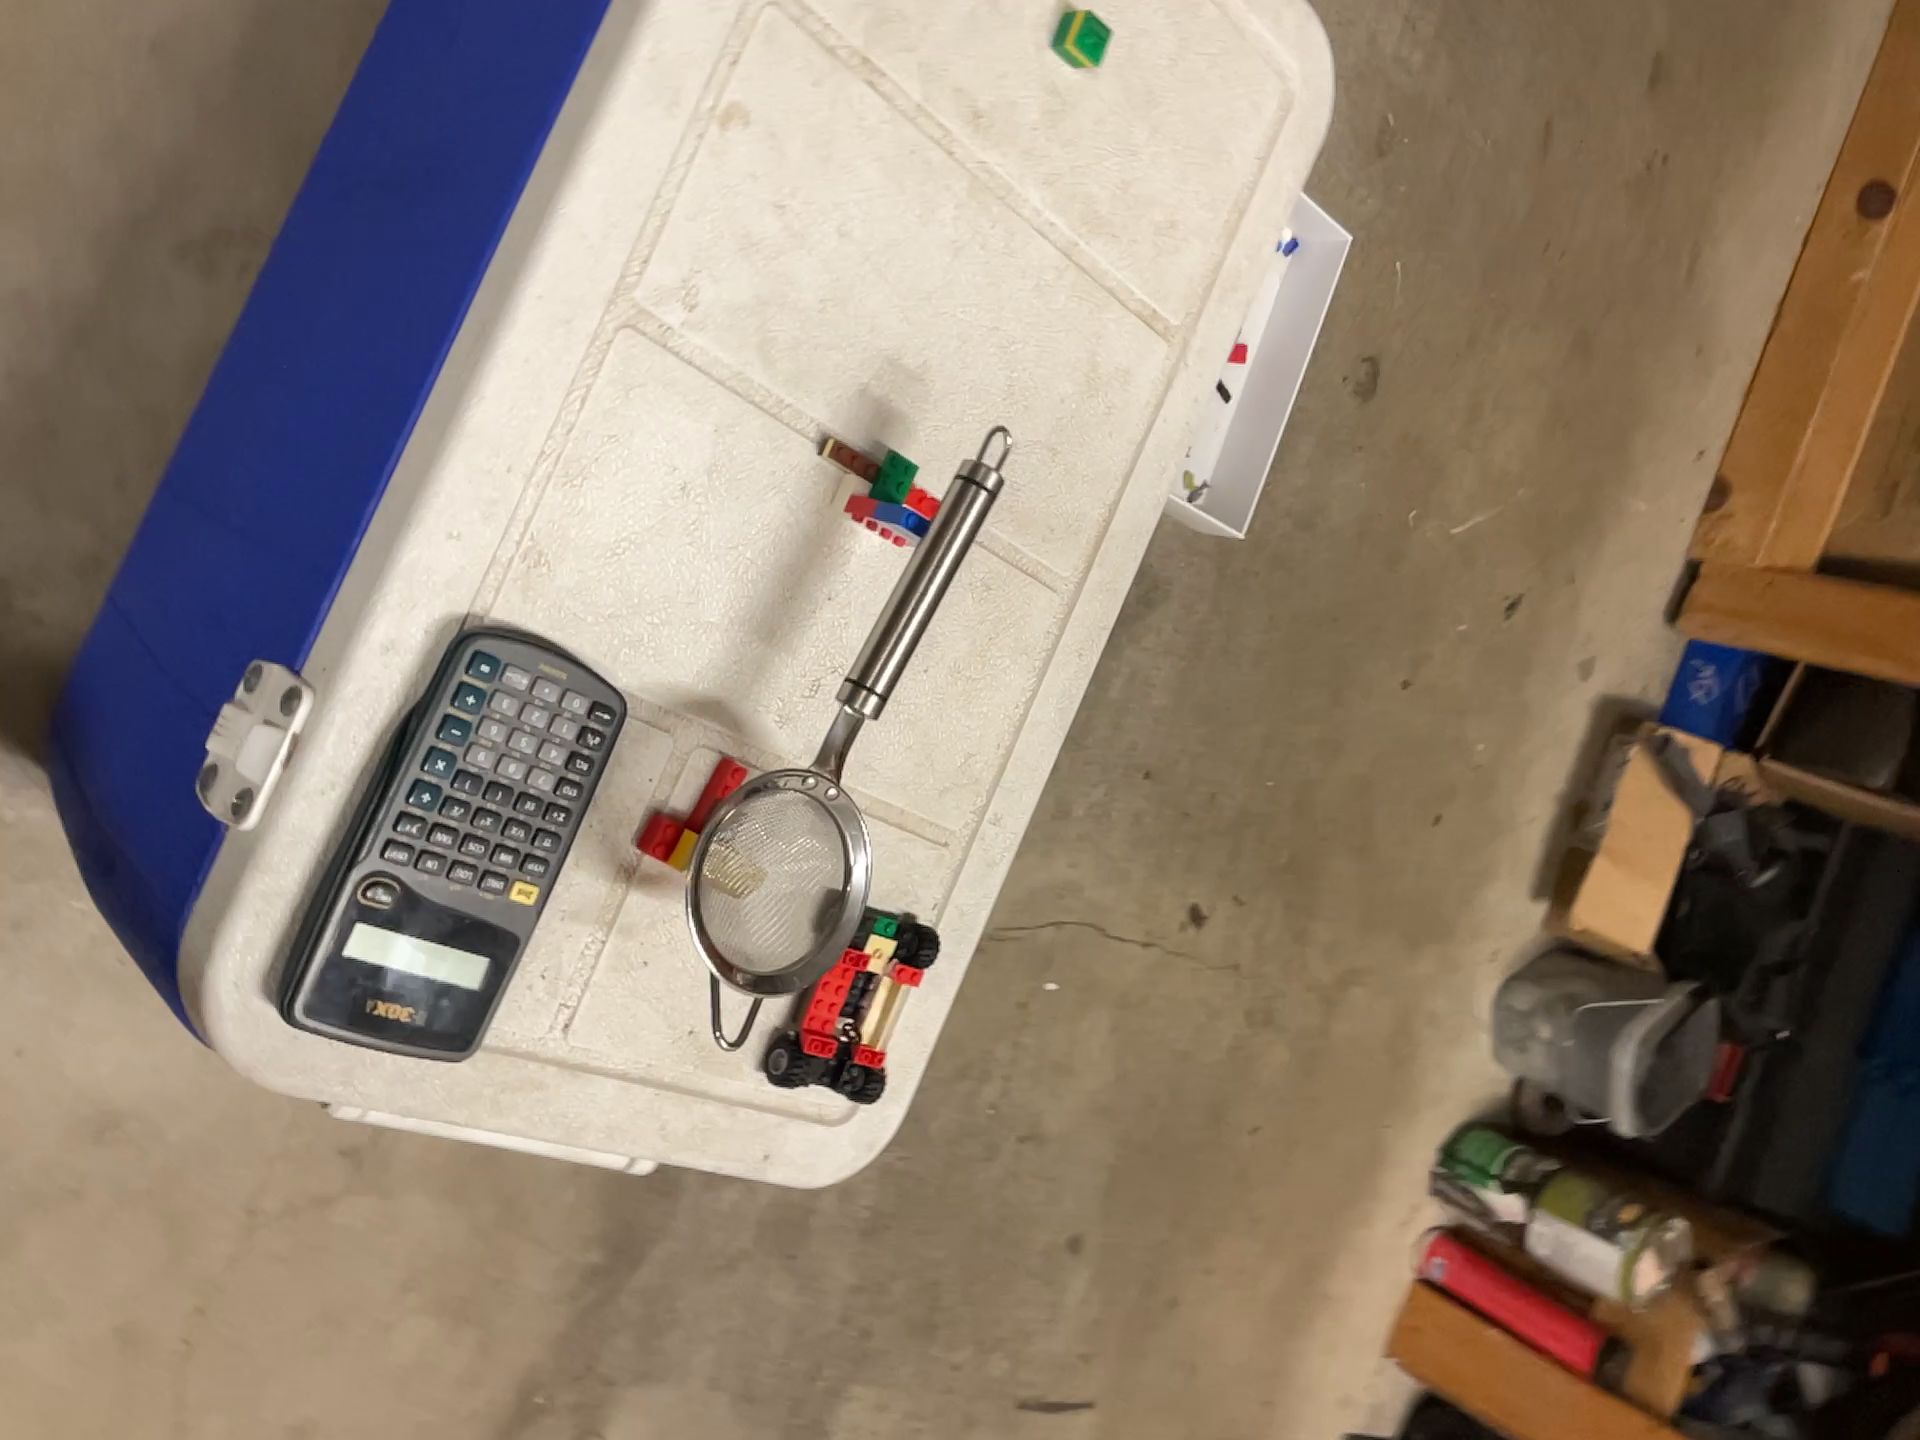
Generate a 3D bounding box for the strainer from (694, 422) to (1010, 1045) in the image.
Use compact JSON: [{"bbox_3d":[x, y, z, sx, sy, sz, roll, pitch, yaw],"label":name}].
[{"bbox_3d":[-0.040,-0.002,0.616,0.087,0.050,0.258,34,80,-43],"label":"strainer"}]
